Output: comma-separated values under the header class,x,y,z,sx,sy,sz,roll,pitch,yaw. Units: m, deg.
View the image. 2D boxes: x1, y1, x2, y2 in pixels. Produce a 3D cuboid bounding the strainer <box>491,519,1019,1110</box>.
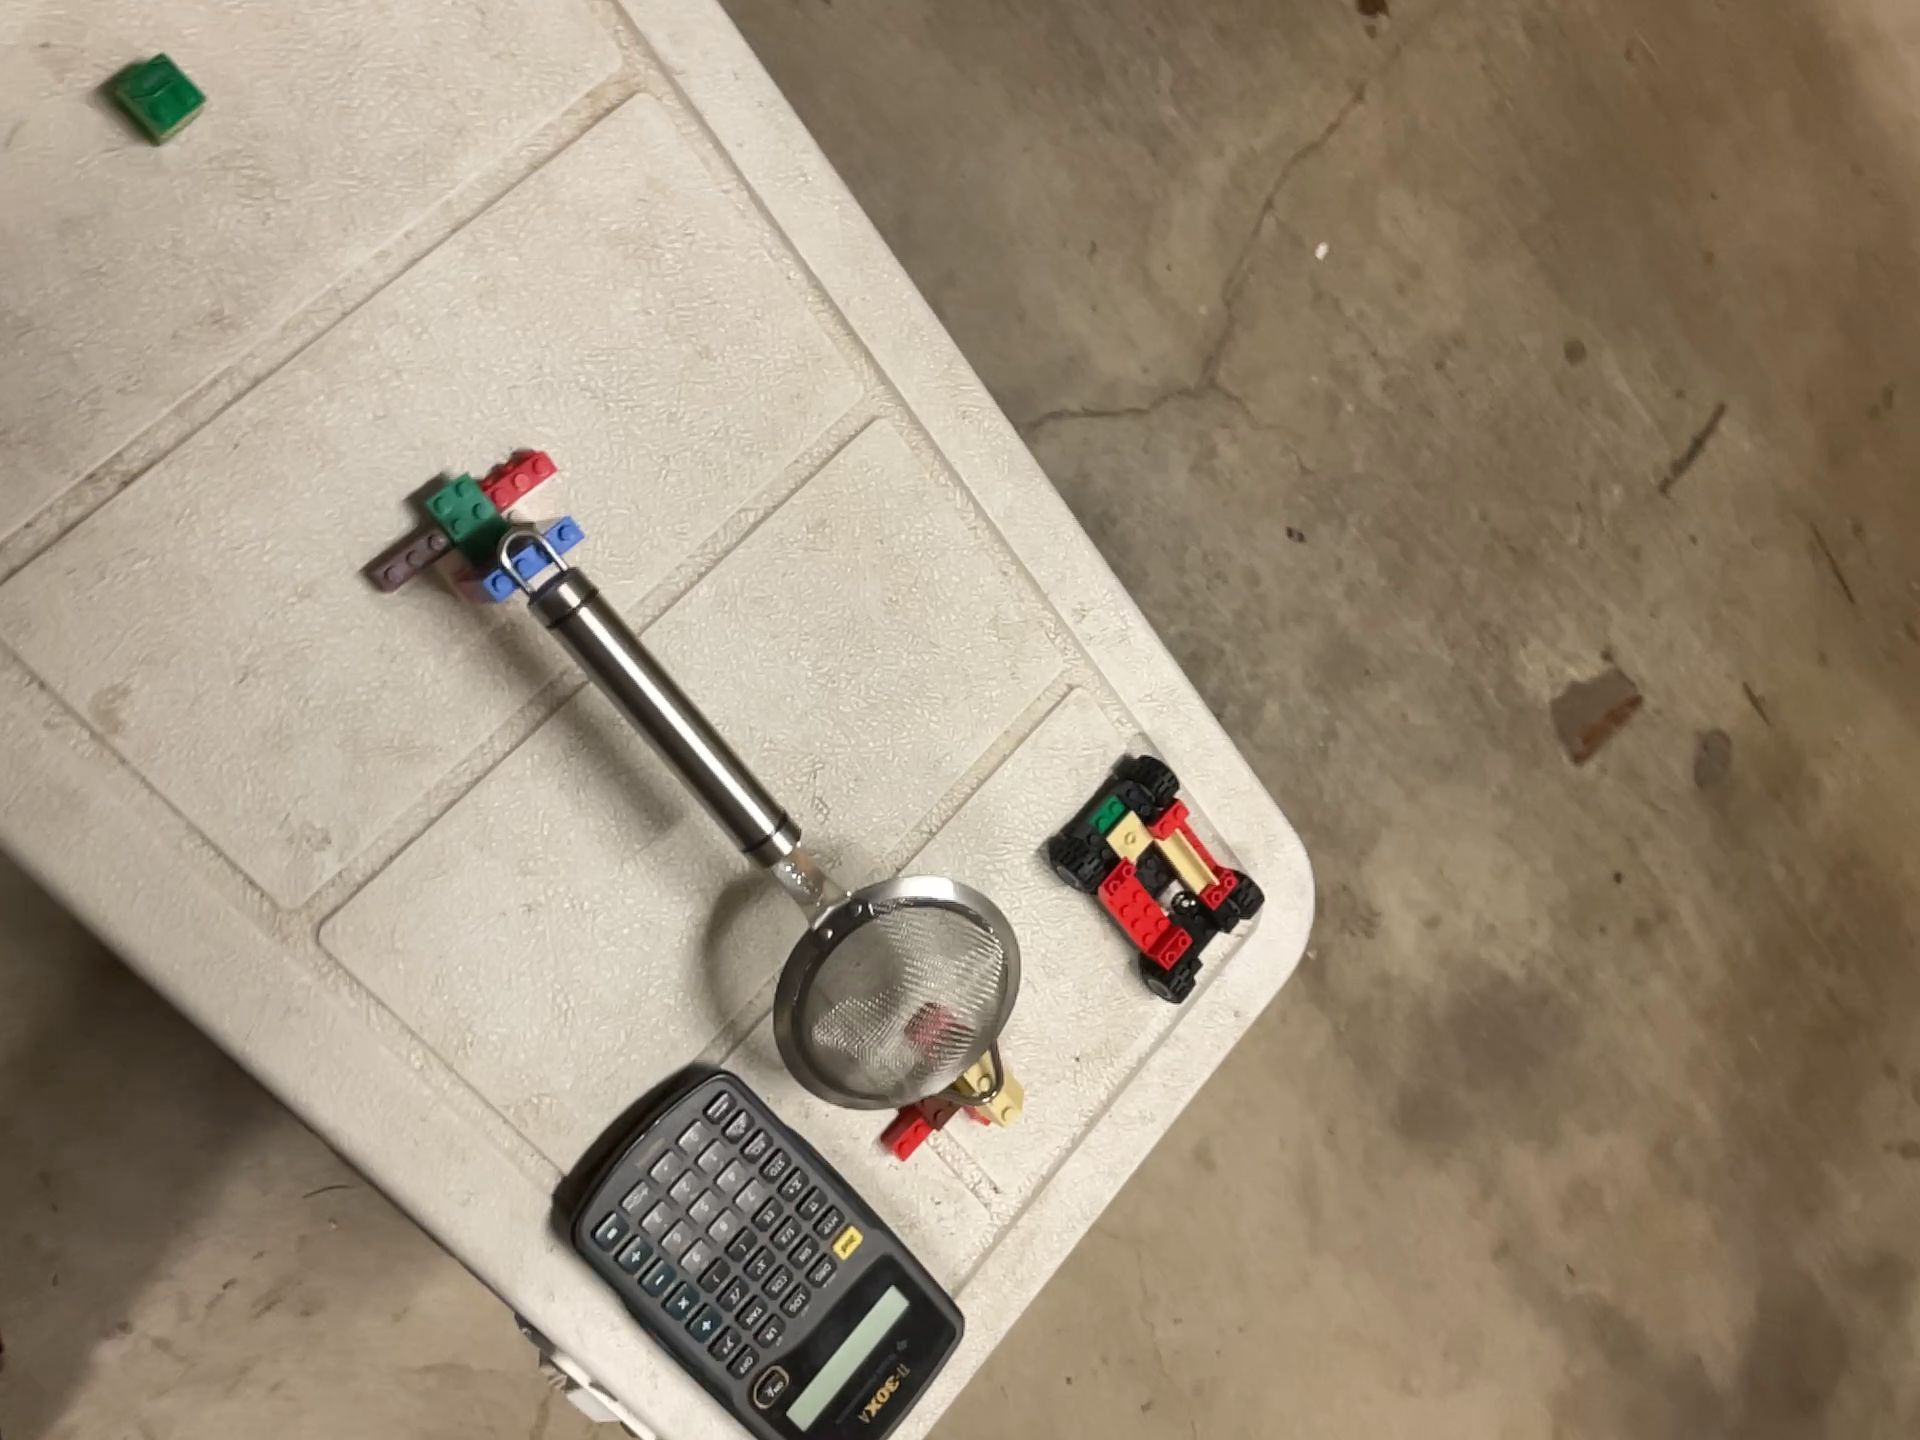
class,x,y,z,sx,sy,sz,roll,pitch,yaw
strainer,-0.057,0.042,0.493,0.087,0.050,0.258,-39,110,-4
